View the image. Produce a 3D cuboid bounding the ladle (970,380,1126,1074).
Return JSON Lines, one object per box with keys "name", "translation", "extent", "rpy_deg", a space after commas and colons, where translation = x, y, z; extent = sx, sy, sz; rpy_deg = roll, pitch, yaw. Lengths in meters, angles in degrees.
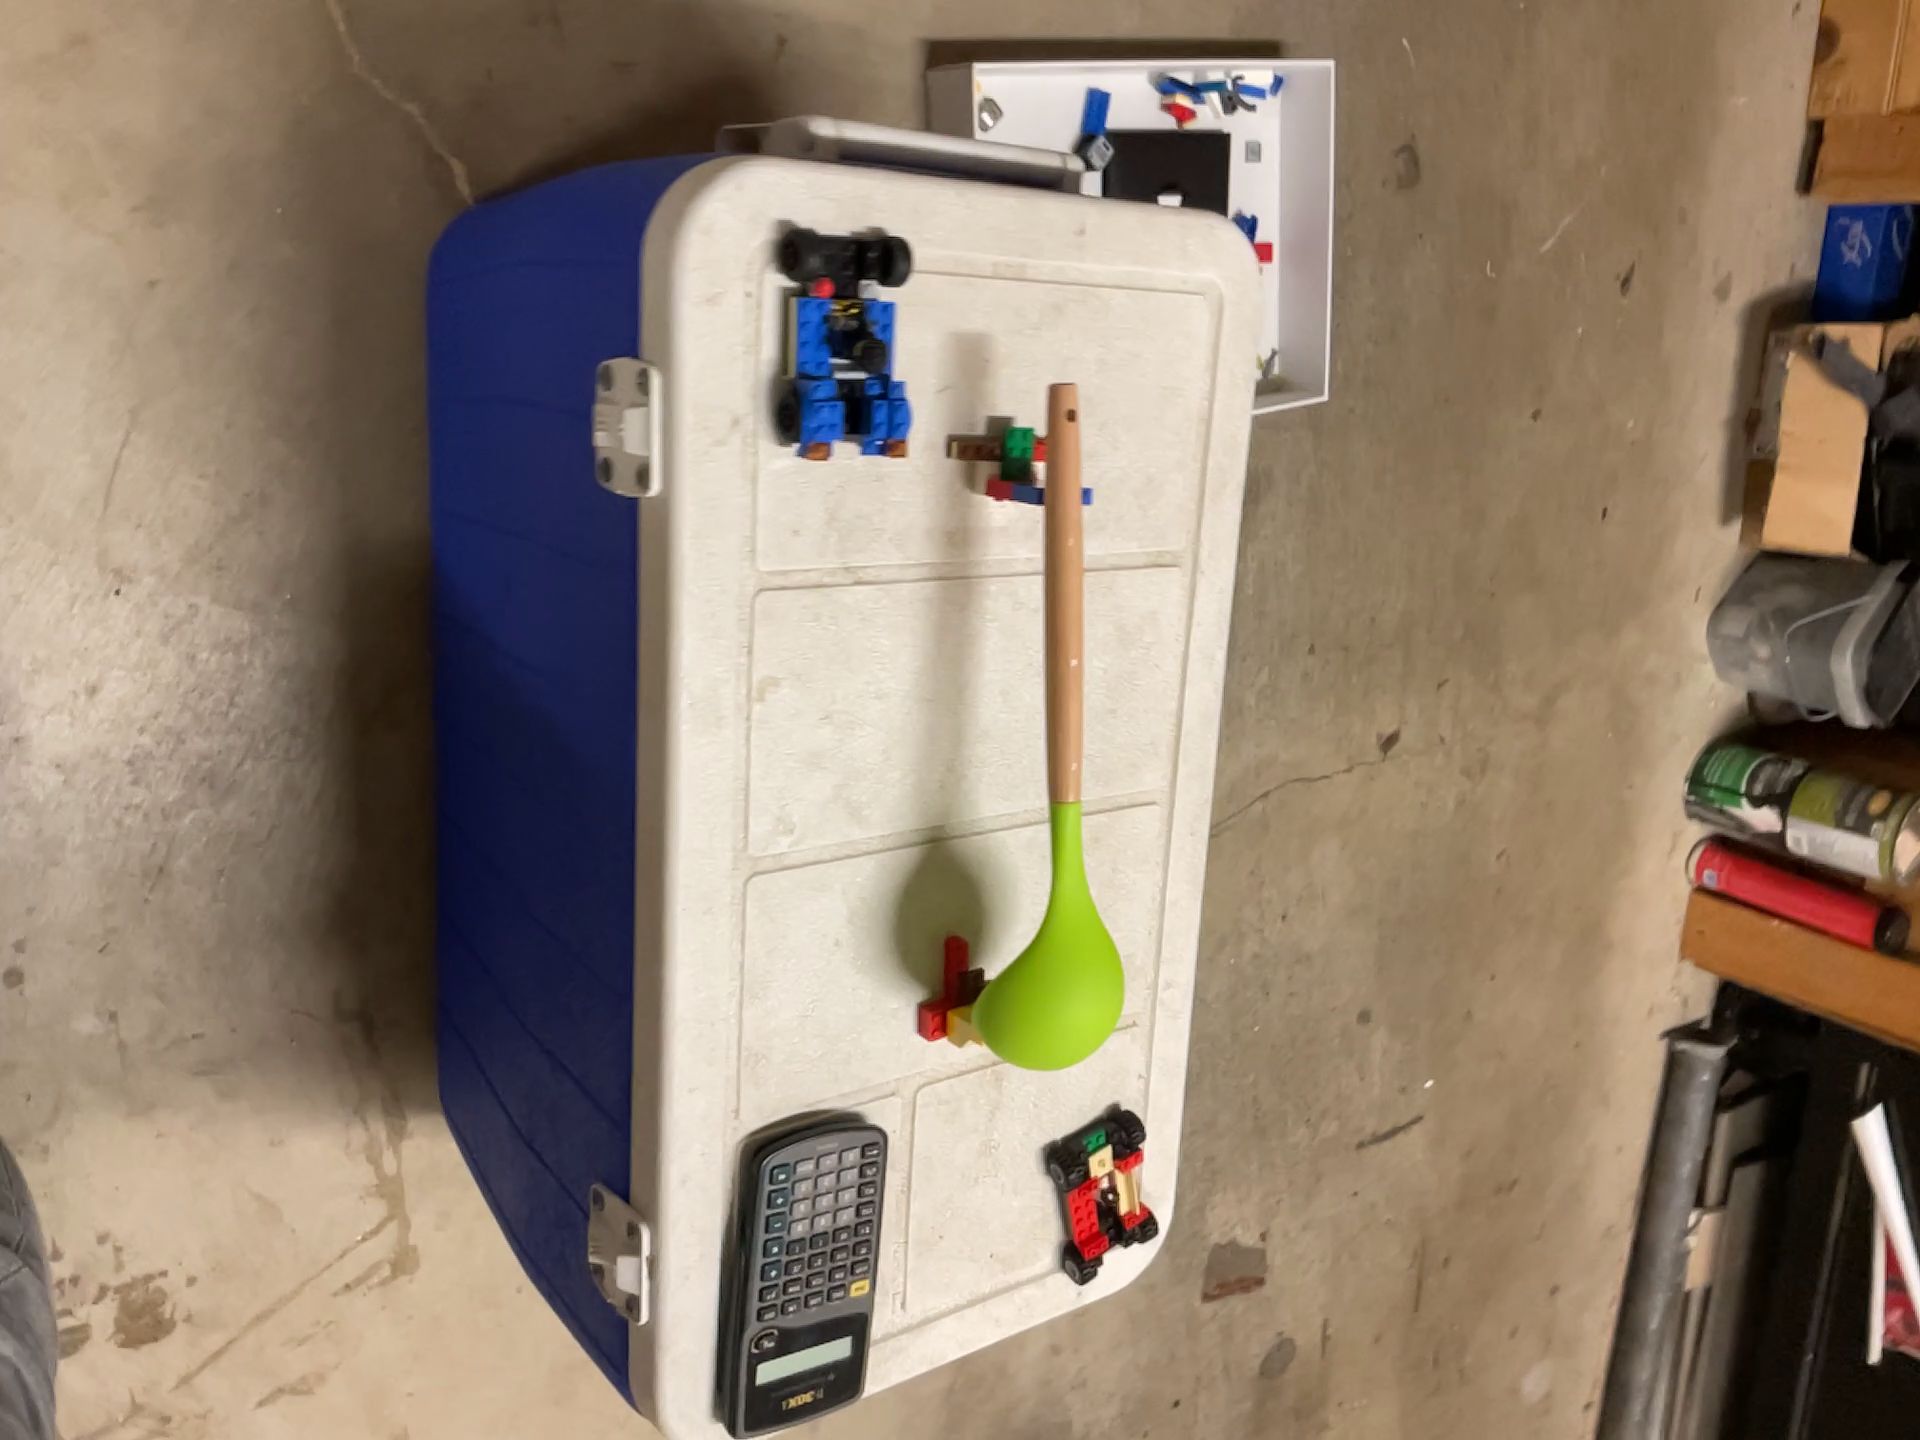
{"name": "ladle", "translation": [0.040, 0.009, 0.729], "extent": [0.078, 0.062, 0.320], "rpy_deg": [-7, 101, -30]}
